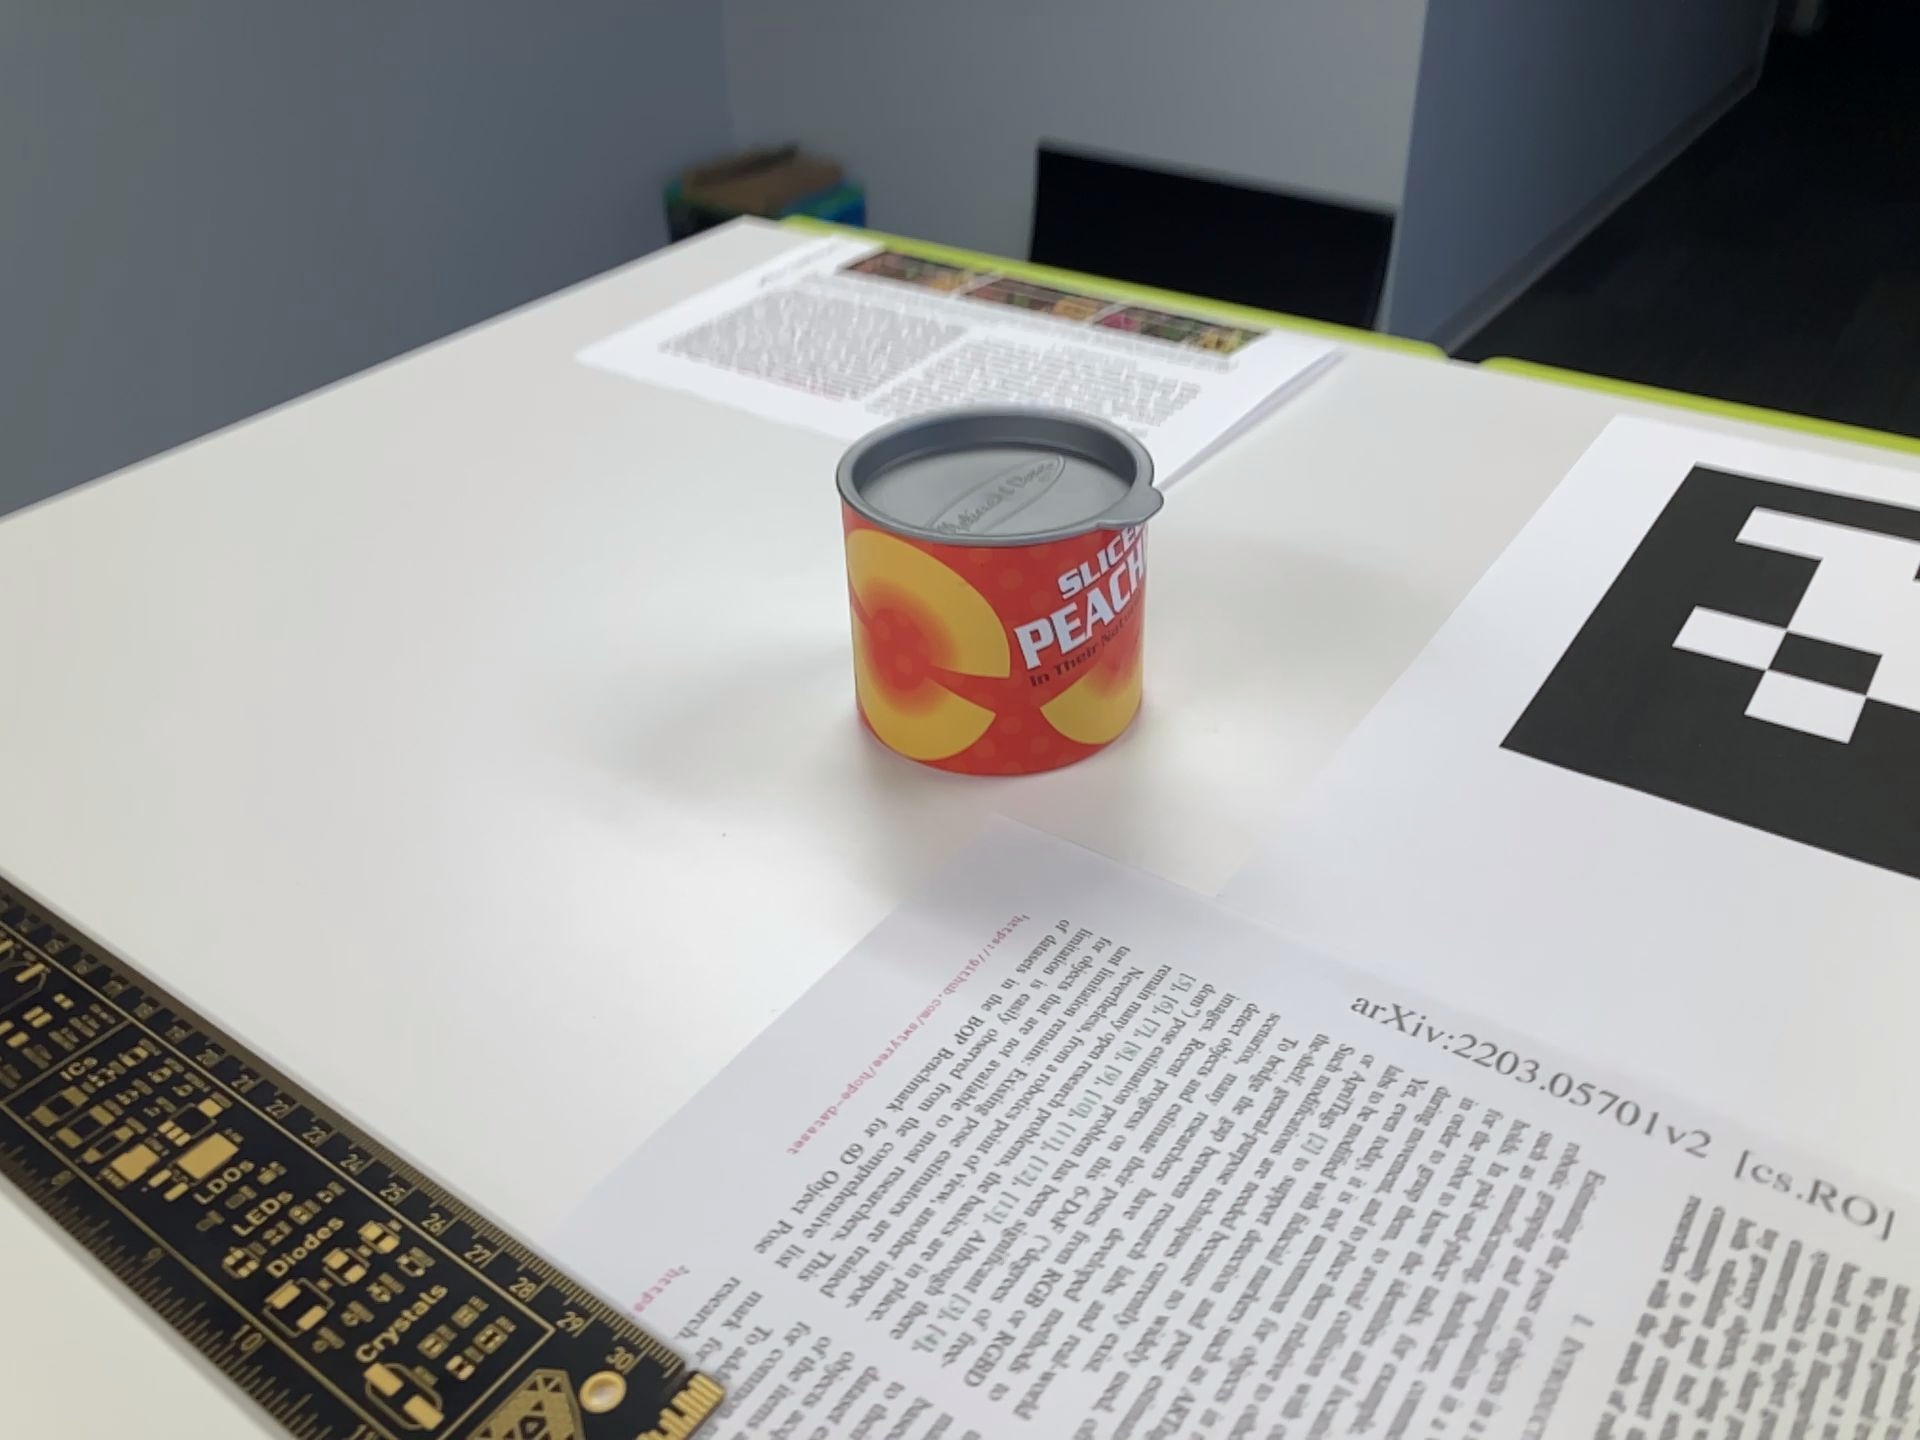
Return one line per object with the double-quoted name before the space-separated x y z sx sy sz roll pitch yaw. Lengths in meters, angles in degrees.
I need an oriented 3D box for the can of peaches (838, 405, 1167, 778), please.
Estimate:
"can of peaches" 0.010 -0.028 0.345 0.071 0.058 0.071 -1 34 1
